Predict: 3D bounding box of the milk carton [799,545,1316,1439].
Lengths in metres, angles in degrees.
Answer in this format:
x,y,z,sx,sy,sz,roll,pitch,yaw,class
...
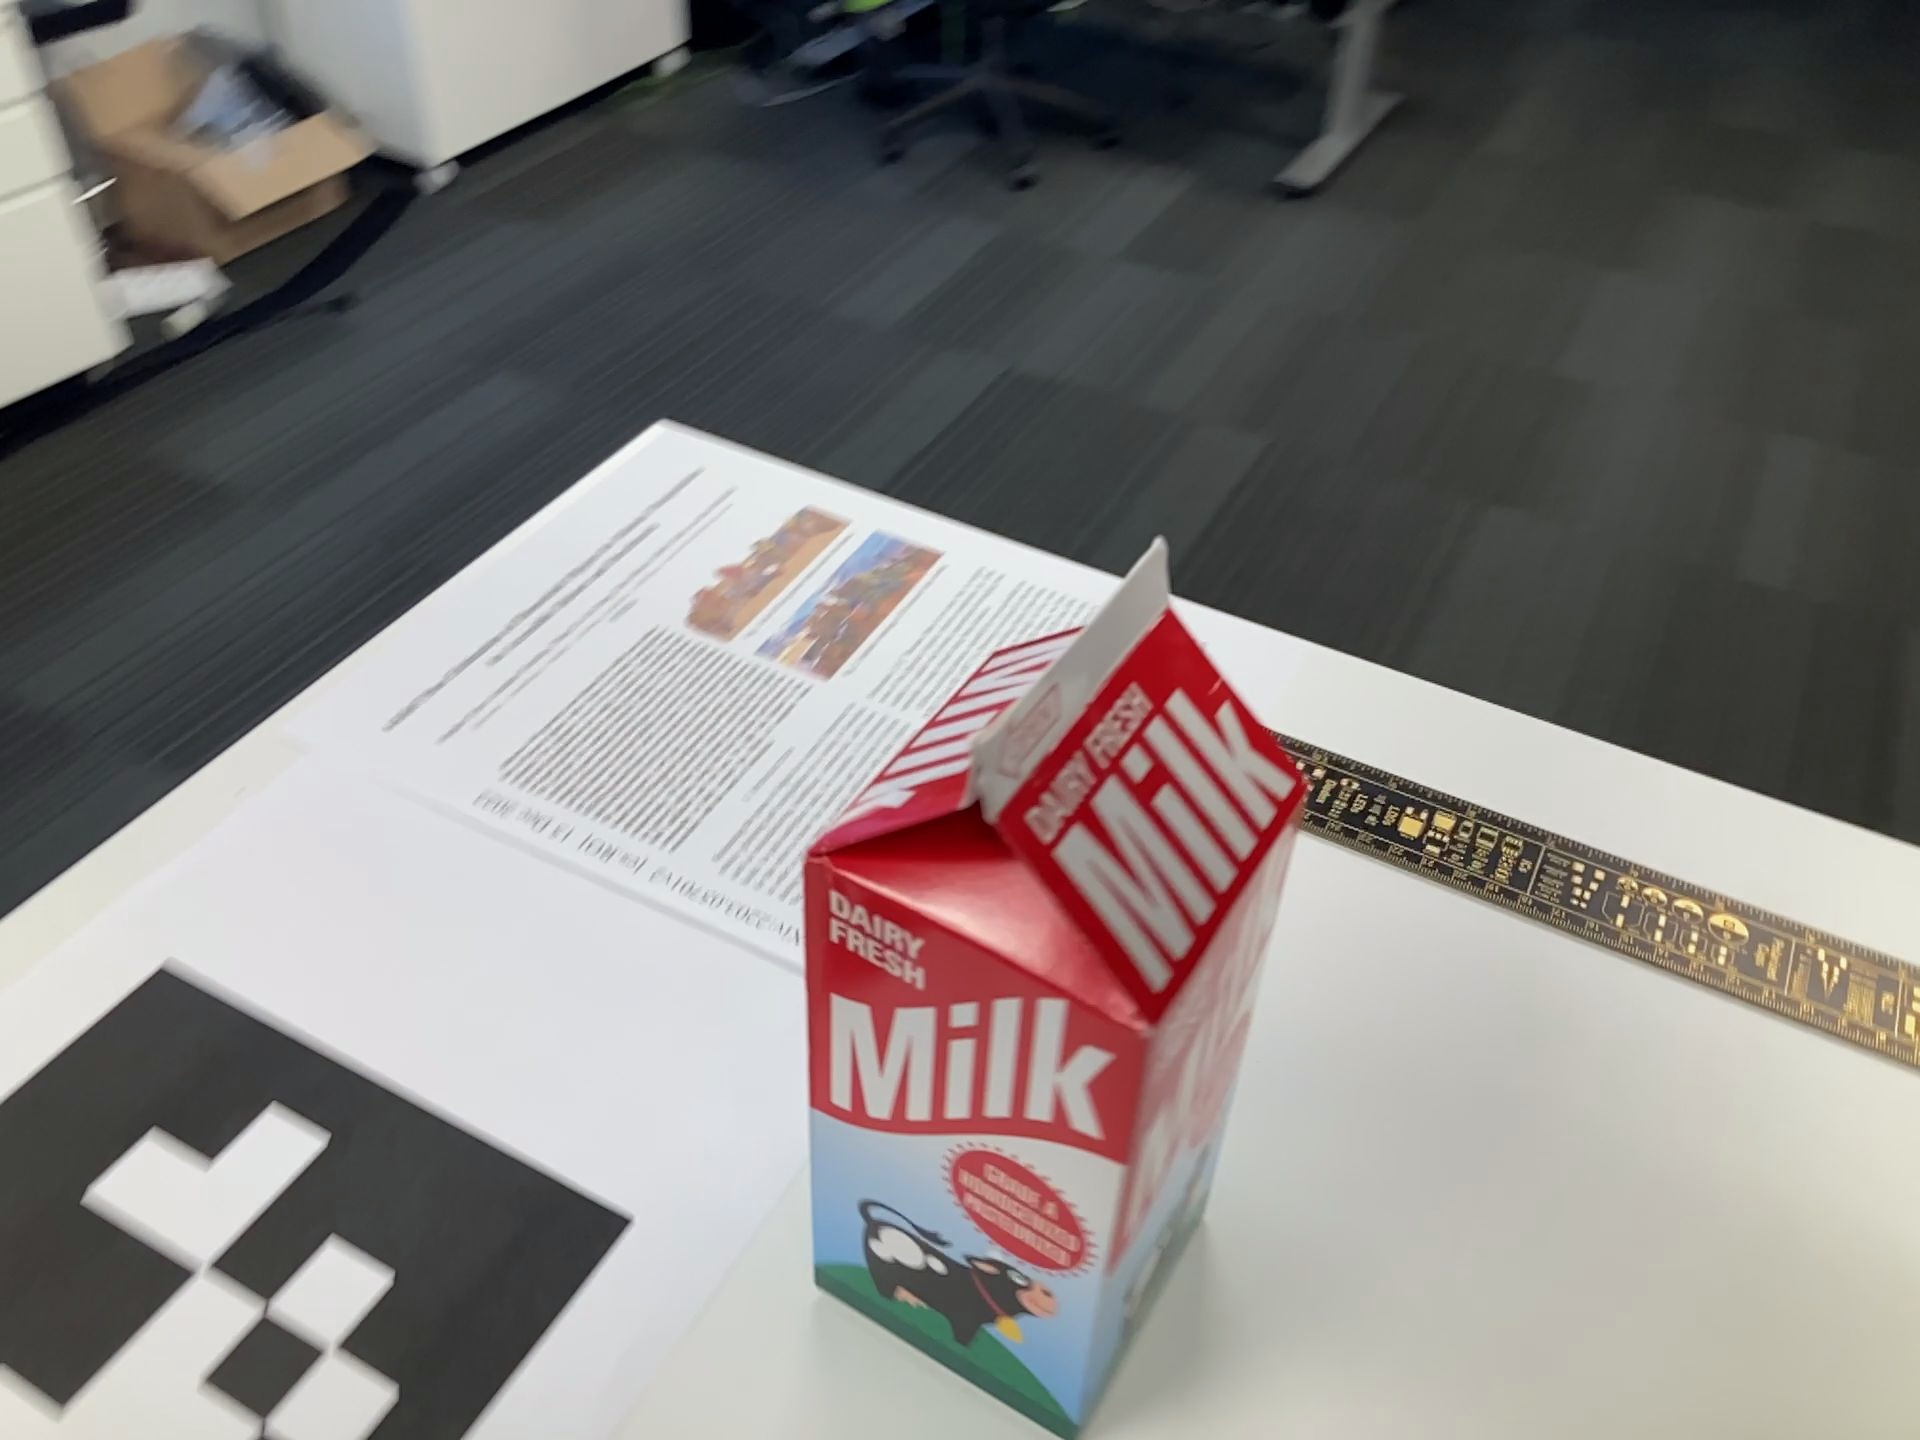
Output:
x,y,z,sx,sy,sz,roll,pitch,yaw,class
0.017,0.058,0.324,0.073,0.190,0.072,24,45,22,milk carton
